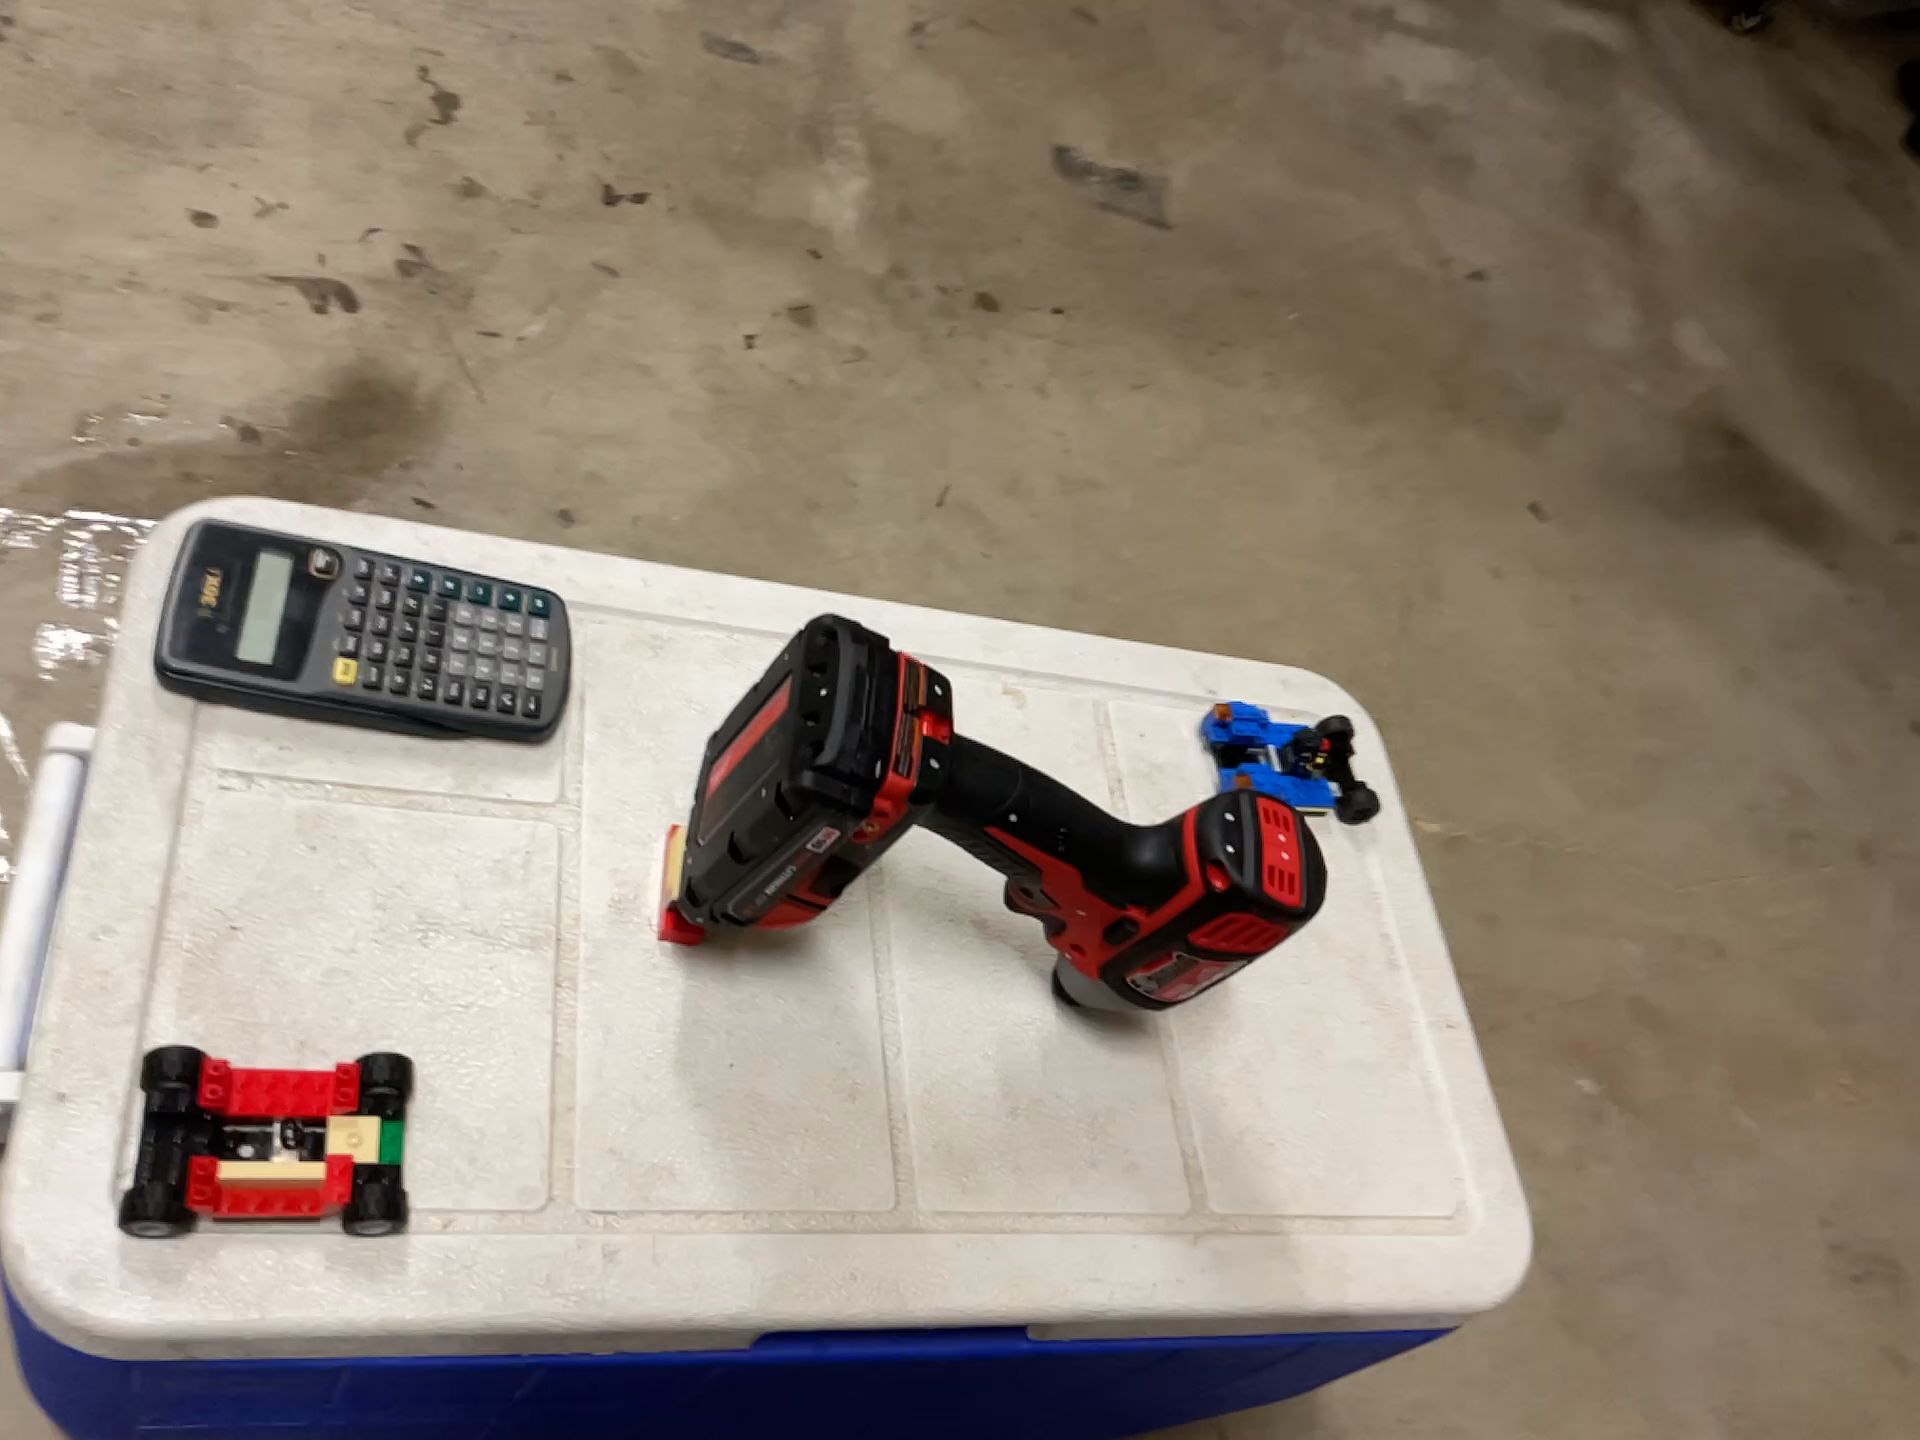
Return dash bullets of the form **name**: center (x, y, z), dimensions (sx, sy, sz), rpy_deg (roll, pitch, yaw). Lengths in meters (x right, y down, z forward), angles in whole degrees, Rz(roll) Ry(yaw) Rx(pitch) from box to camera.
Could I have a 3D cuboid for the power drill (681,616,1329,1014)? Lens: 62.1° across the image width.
- **power drill**: center (0.014, 0.055, 0.611), dimensions (0.219, 0.143, 0.079), rpy_deg (21, 51, -22)
